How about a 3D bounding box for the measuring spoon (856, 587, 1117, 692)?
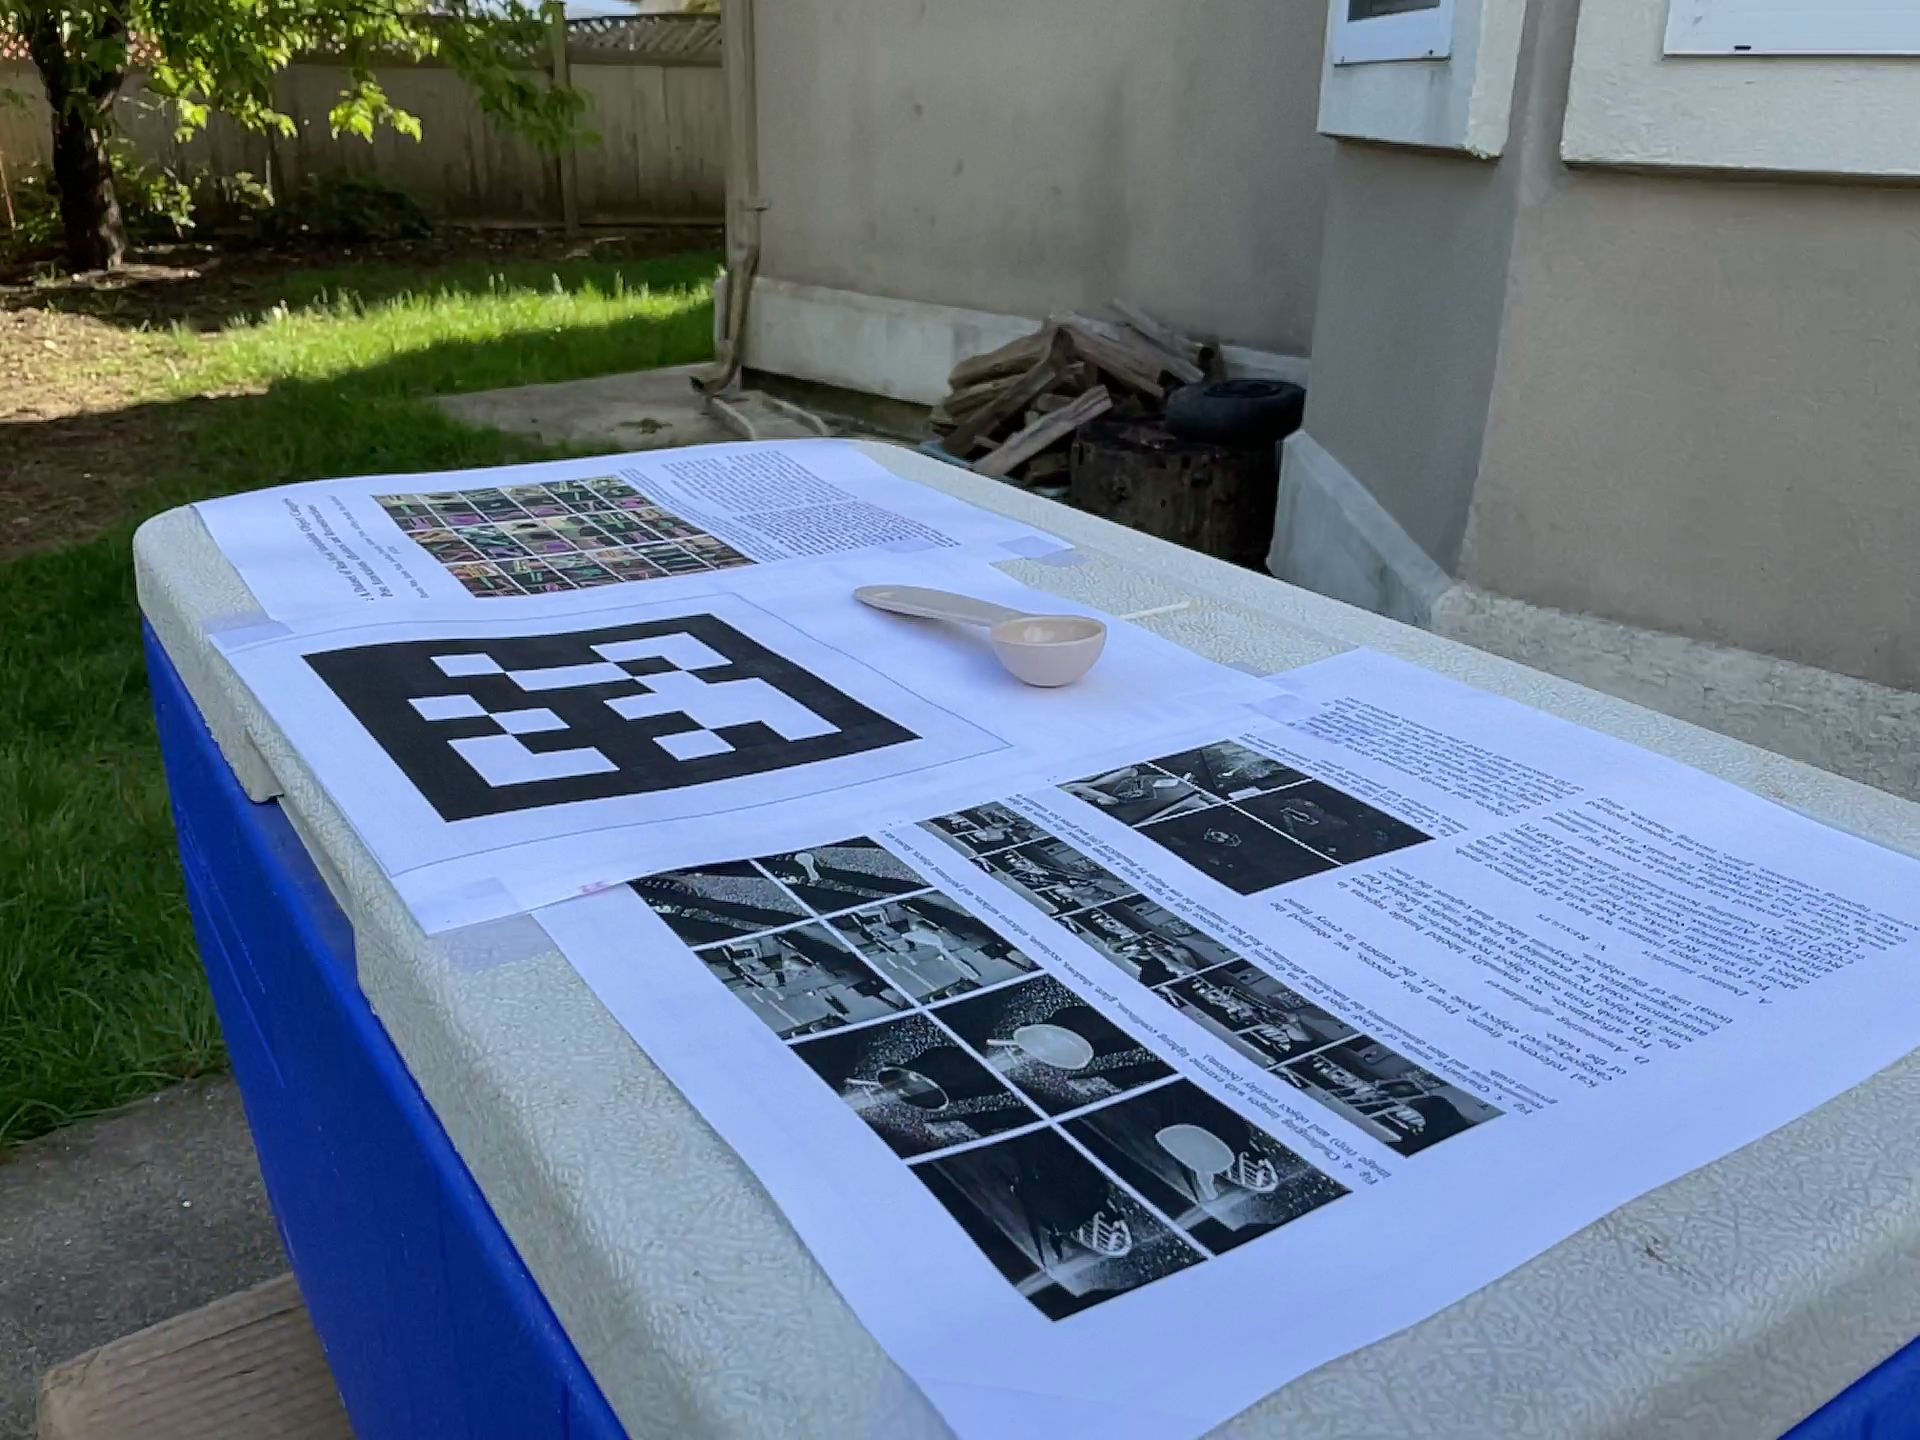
[{"bbox_3d":[0.003,-0.026,0.493,0.034,0.018,0.124,-14,19,-31],"label":"measuring spoon"}]
